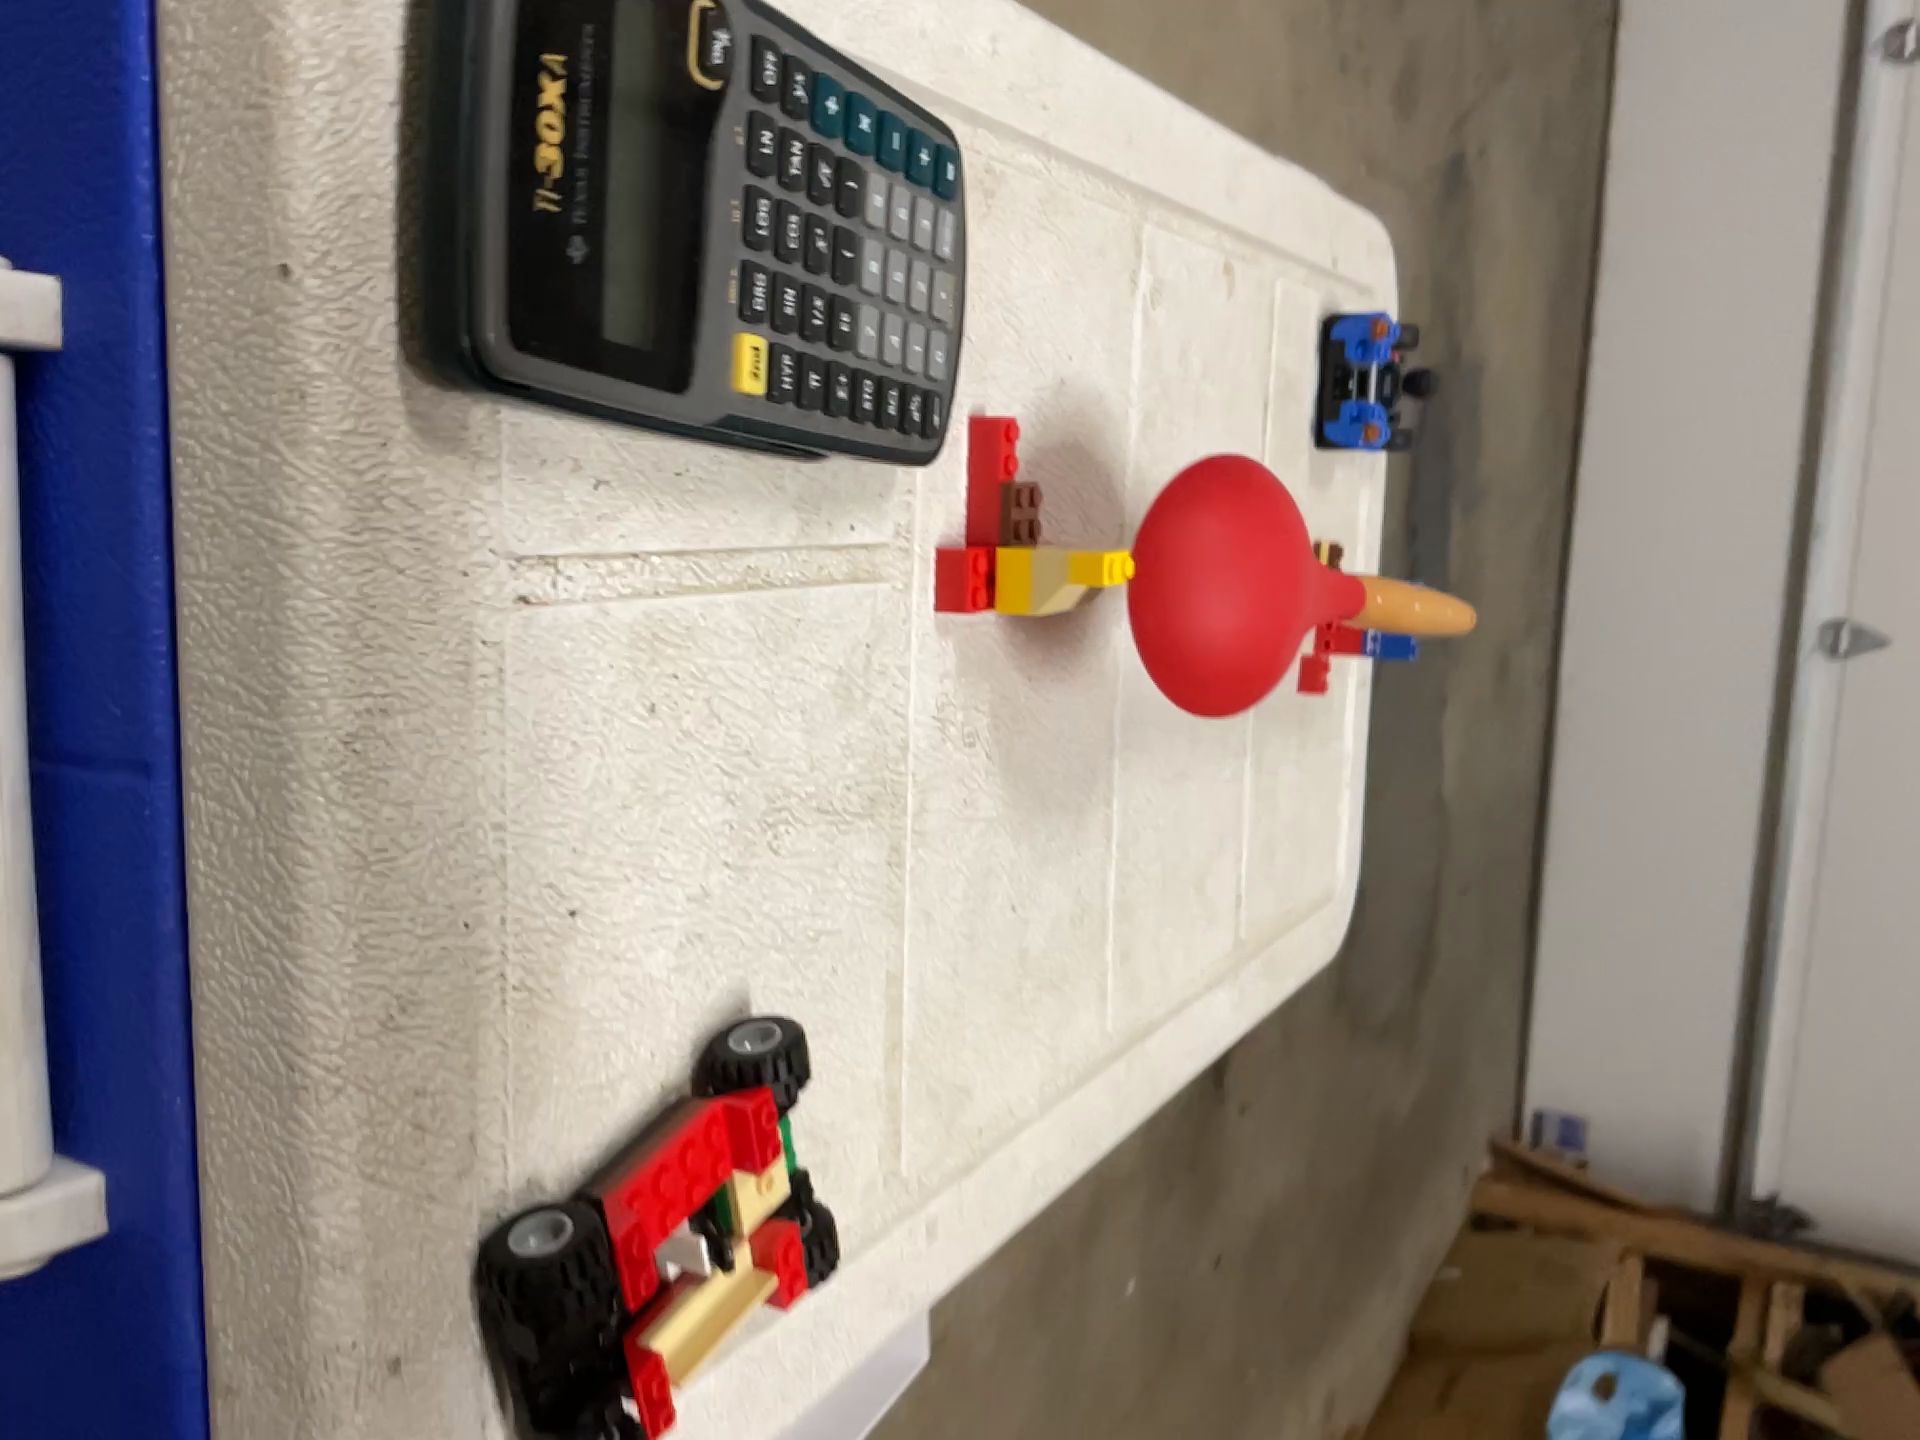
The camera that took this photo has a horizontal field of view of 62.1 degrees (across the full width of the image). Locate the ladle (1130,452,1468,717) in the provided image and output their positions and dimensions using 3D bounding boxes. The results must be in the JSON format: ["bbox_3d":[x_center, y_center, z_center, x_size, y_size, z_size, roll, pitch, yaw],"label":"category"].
[{"bbox_3d":[0.129,-0.037,0.520,0.315,0.031,0.069,-2,97,-62],"label":"ladle"}]
